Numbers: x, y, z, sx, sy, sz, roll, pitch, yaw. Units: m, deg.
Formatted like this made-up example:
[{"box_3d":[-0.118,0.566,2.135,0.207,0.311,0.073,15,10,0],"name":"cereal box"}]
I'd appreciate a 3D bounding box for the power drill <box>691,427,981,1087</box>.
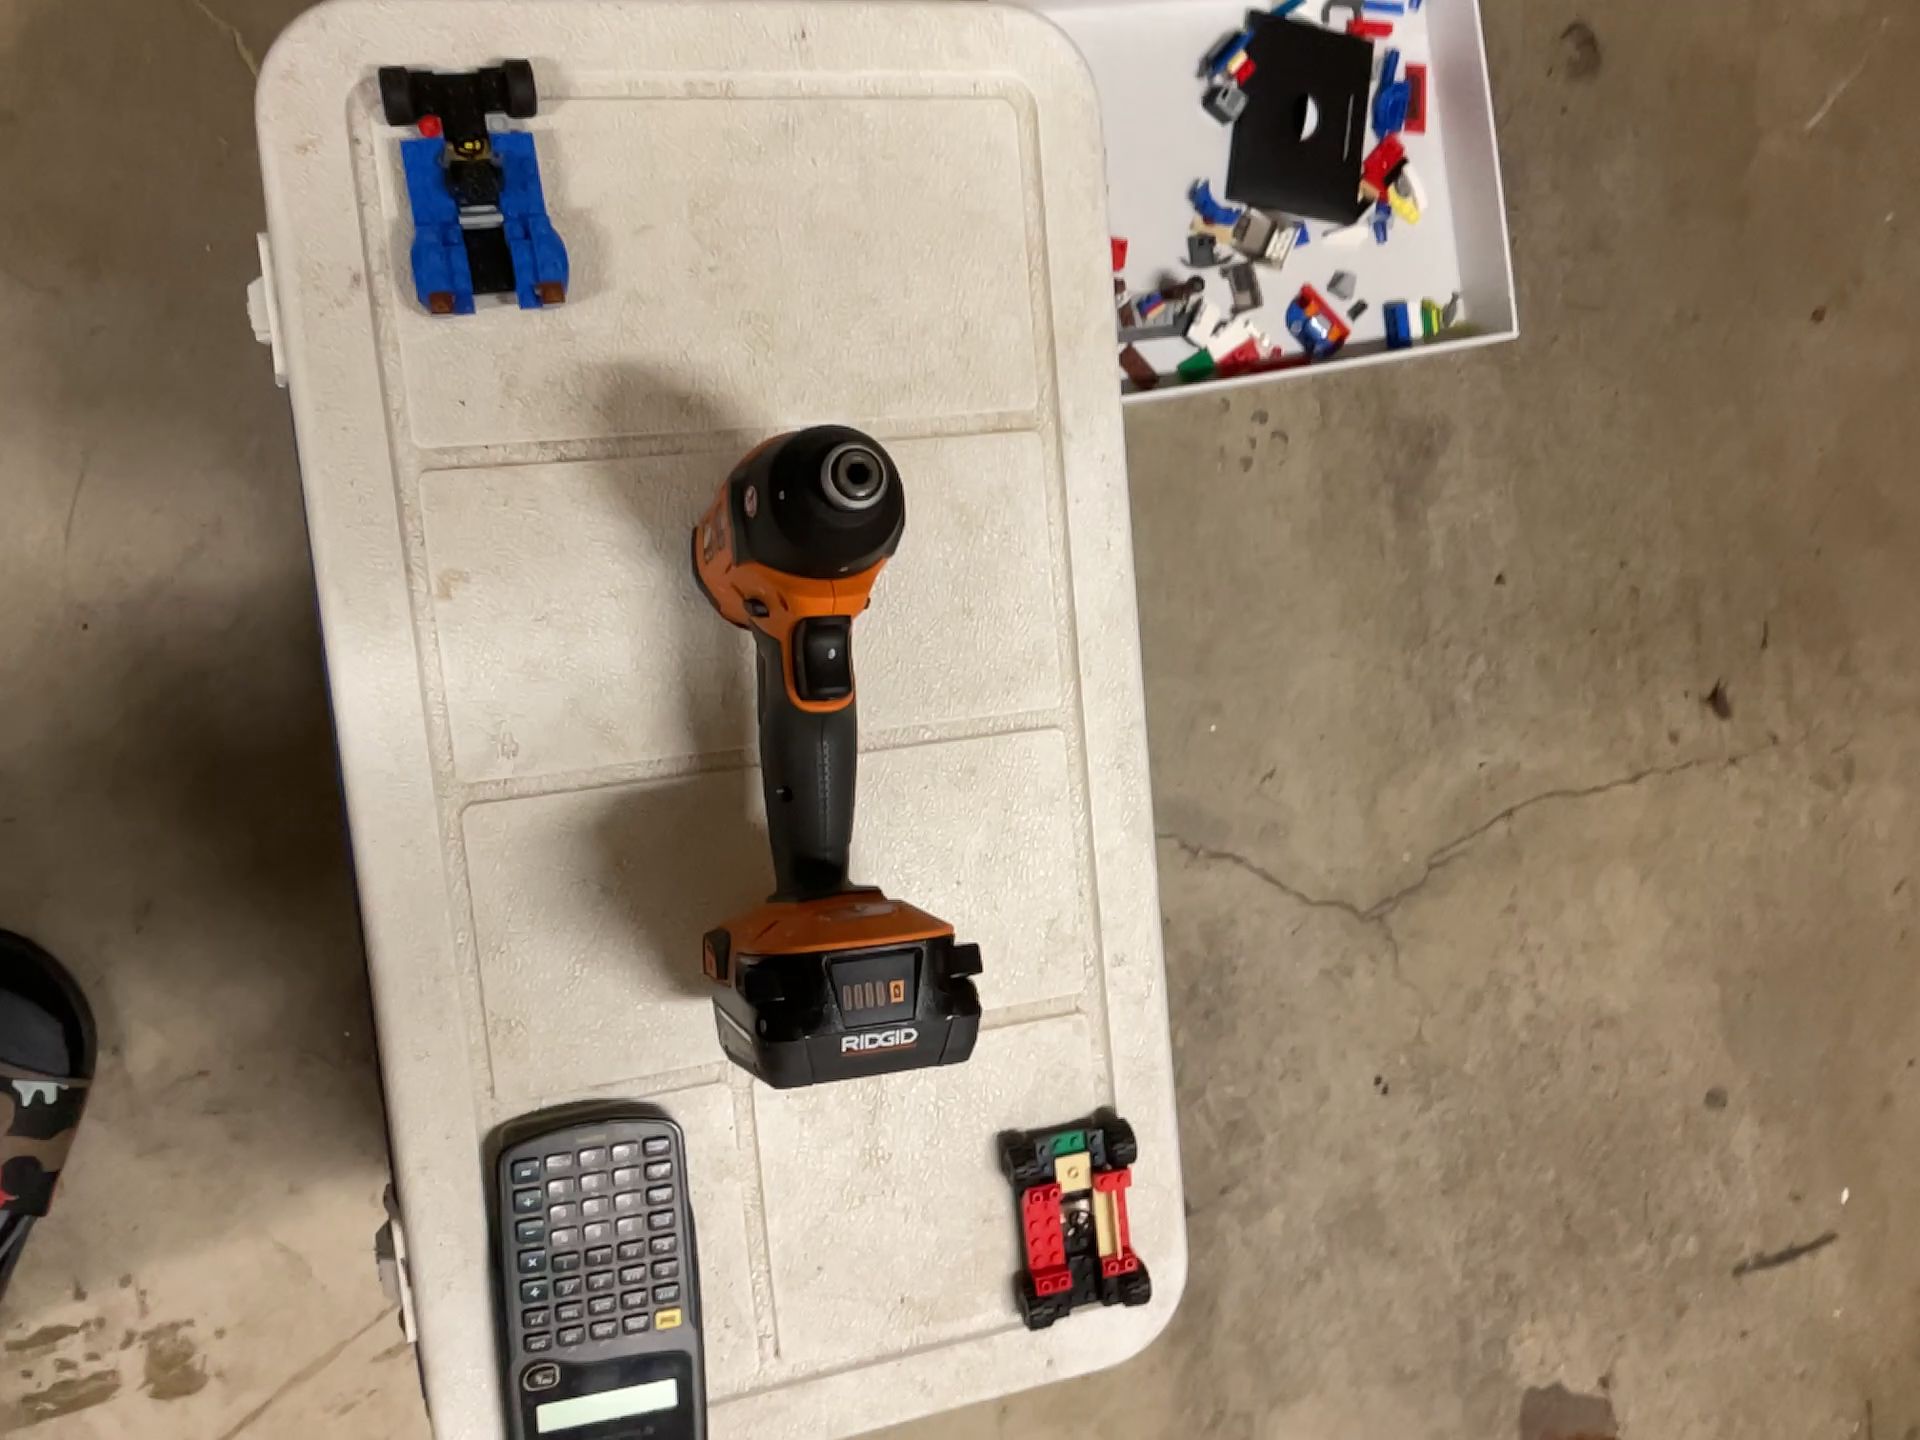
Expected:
[{"box_3d":[-0.050,0.010,0.575,0.084,0.164,0.226,-4,85,-18],"name":"power drill"}]
